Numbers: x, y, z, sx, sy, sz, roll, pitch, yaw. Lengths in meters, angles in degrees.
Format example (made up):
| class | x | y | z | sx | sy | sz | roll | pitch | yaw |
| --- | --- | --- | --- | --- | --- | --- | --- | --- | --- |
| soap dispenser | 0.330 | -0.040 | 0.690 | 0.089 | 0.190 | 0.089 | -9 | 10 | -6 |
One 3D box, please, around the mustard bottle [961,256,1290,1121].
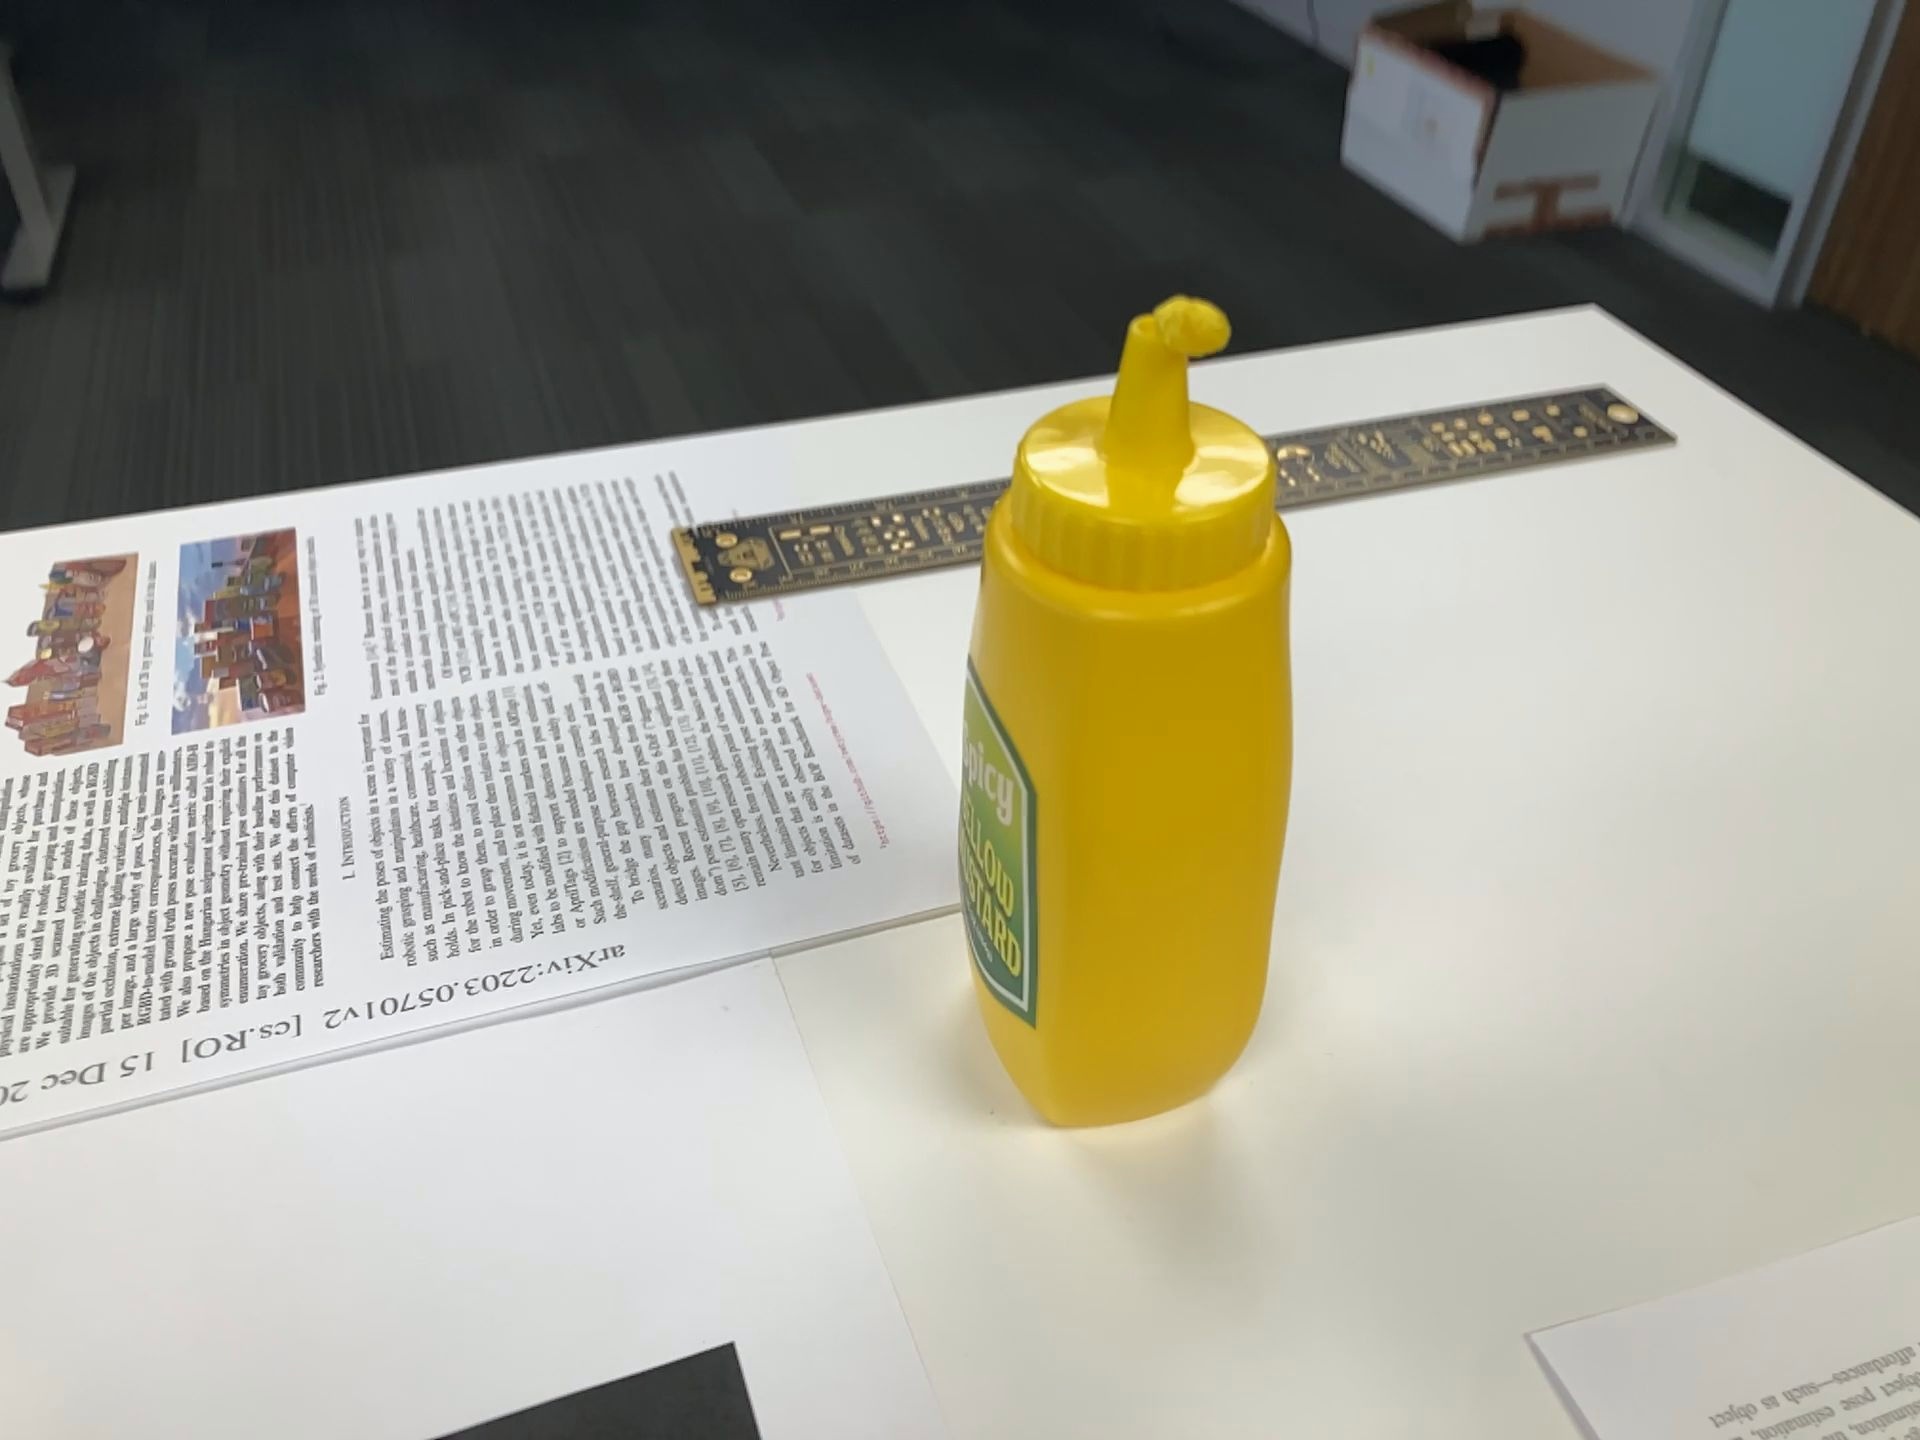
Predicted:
| class | x | y | z | sx | sy | sz | roll | pitch | yaw |
| --- | --- | --- | --- | --- | --- | --- | --- | --- | --- |
| mustard bottle | 0.027 | -0.002 | 0.268 | 0.049 | 0.160 | 0.065 | -10 | 39 | -12 |
